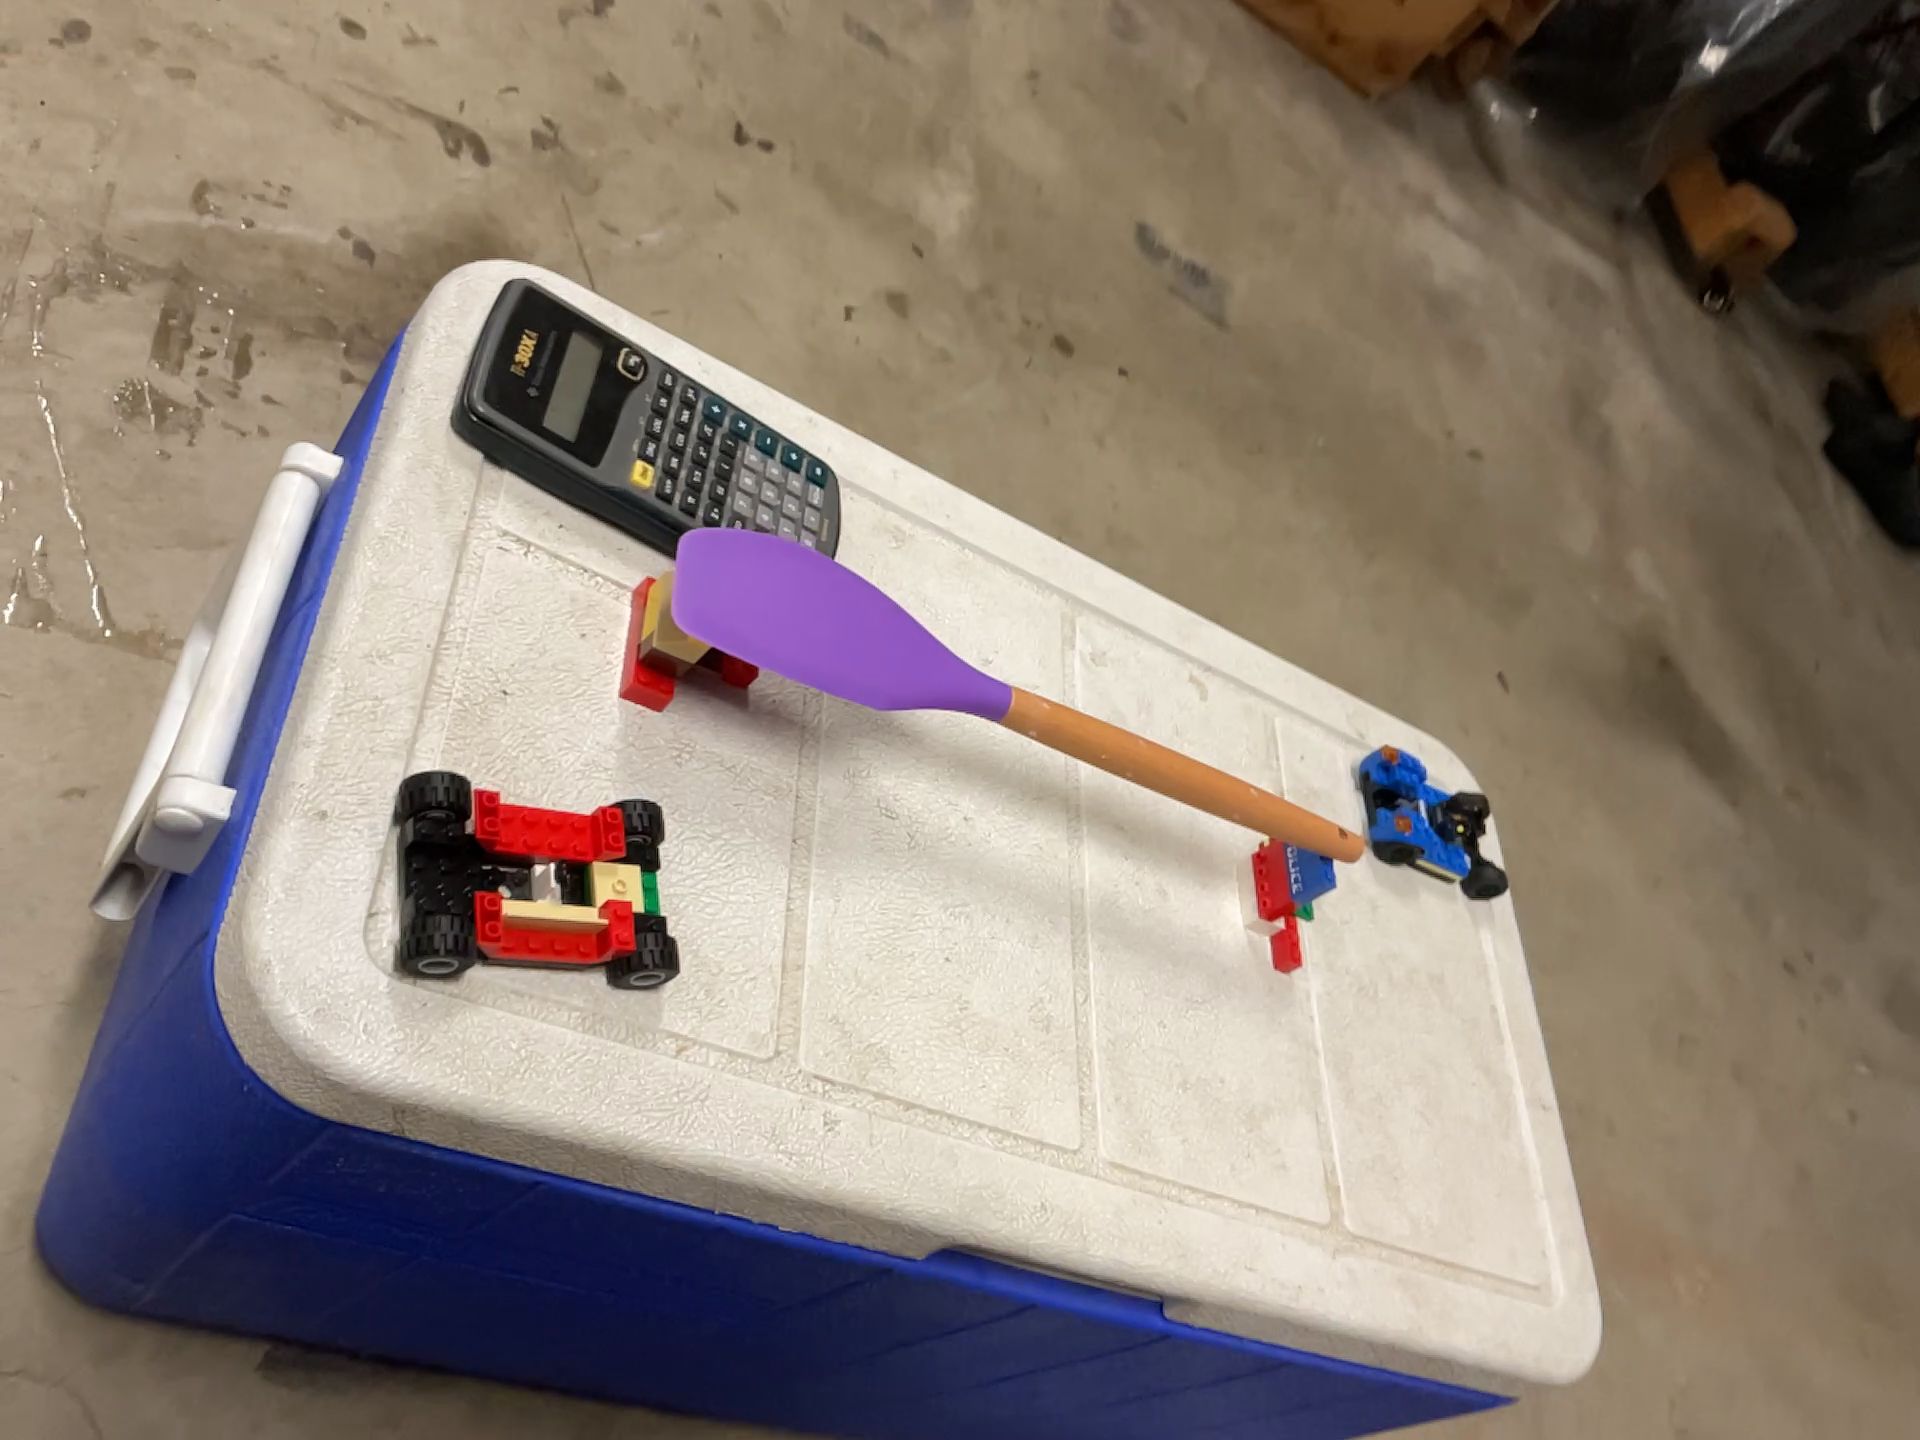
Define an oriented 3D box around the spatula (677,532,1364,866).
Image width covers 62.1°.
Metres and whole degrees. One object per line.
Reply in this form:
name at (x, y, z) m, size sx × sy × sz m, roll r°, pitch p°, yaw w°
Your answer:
spatula at (0.037, 0.002, 0.600) m, size 0.316 × 0.018 × 0.060 m, roll 22°, pitch 50°, yaw -28°
